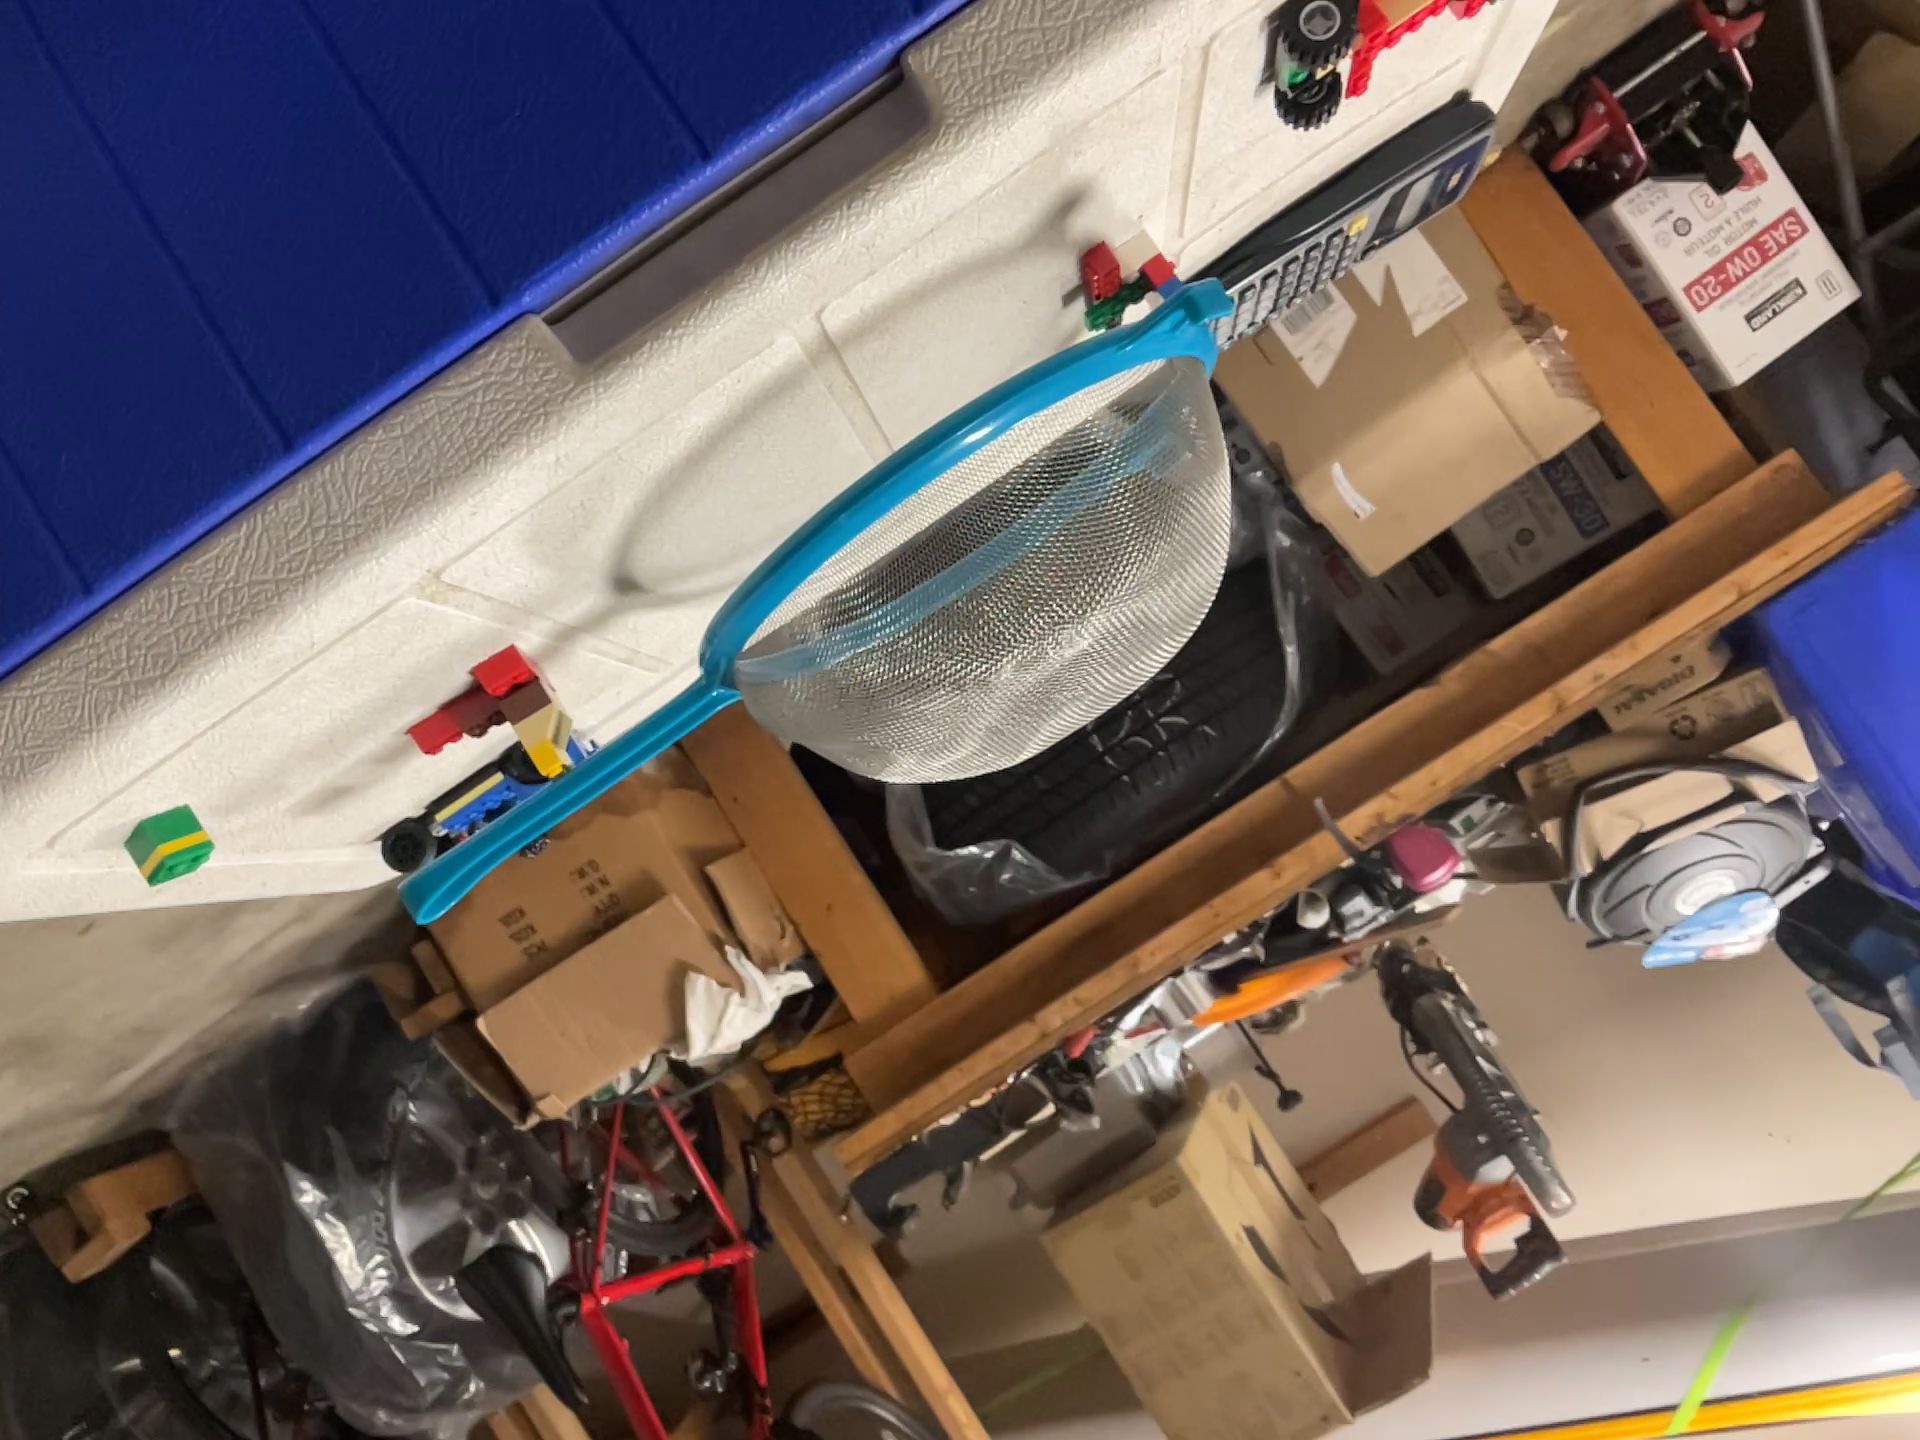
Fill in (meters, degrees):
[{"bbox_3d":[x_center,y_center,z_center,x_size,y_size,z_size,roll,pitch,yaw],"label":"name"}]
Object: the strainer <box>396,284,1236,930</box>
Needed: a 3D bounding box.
[{"bbox_3d":[-0.033,0.000,0.552,0.340,0.095,0.211,-35,174,0],"label":"strainer"}]
